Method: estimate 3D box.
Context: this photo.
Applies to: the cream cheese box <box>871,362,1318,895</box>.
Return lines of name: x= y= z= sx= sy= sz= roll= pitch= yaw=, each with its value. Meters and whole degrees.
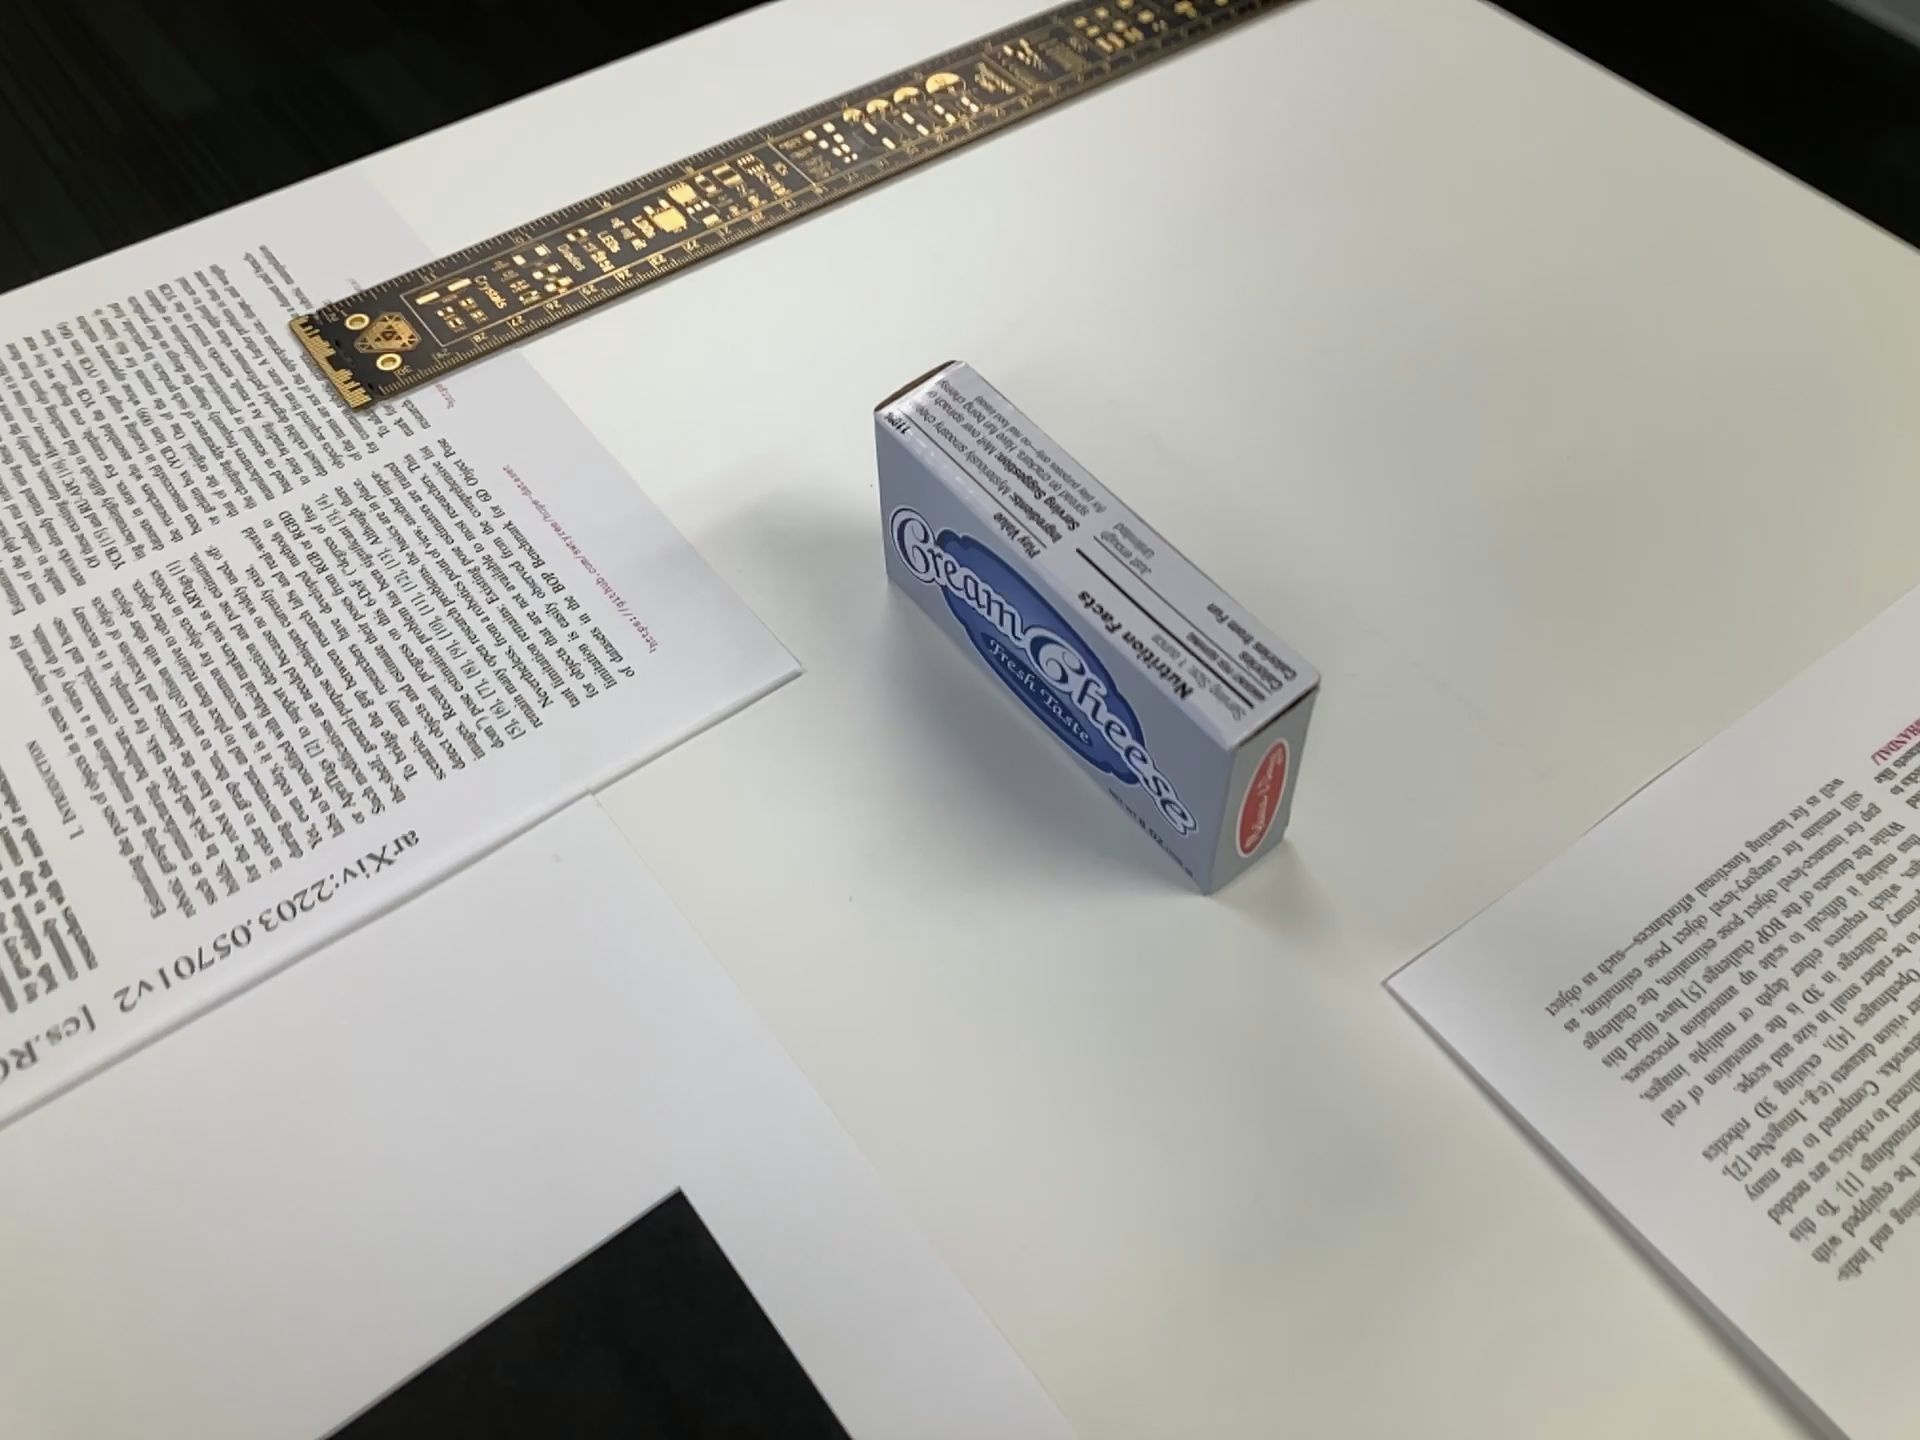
cream cheese box: x=0.023 y=-0.020 z=0.307 sx=0.024 sy=0.053 sz=0.104 roll=-33 pitch=60 yaw=-20
